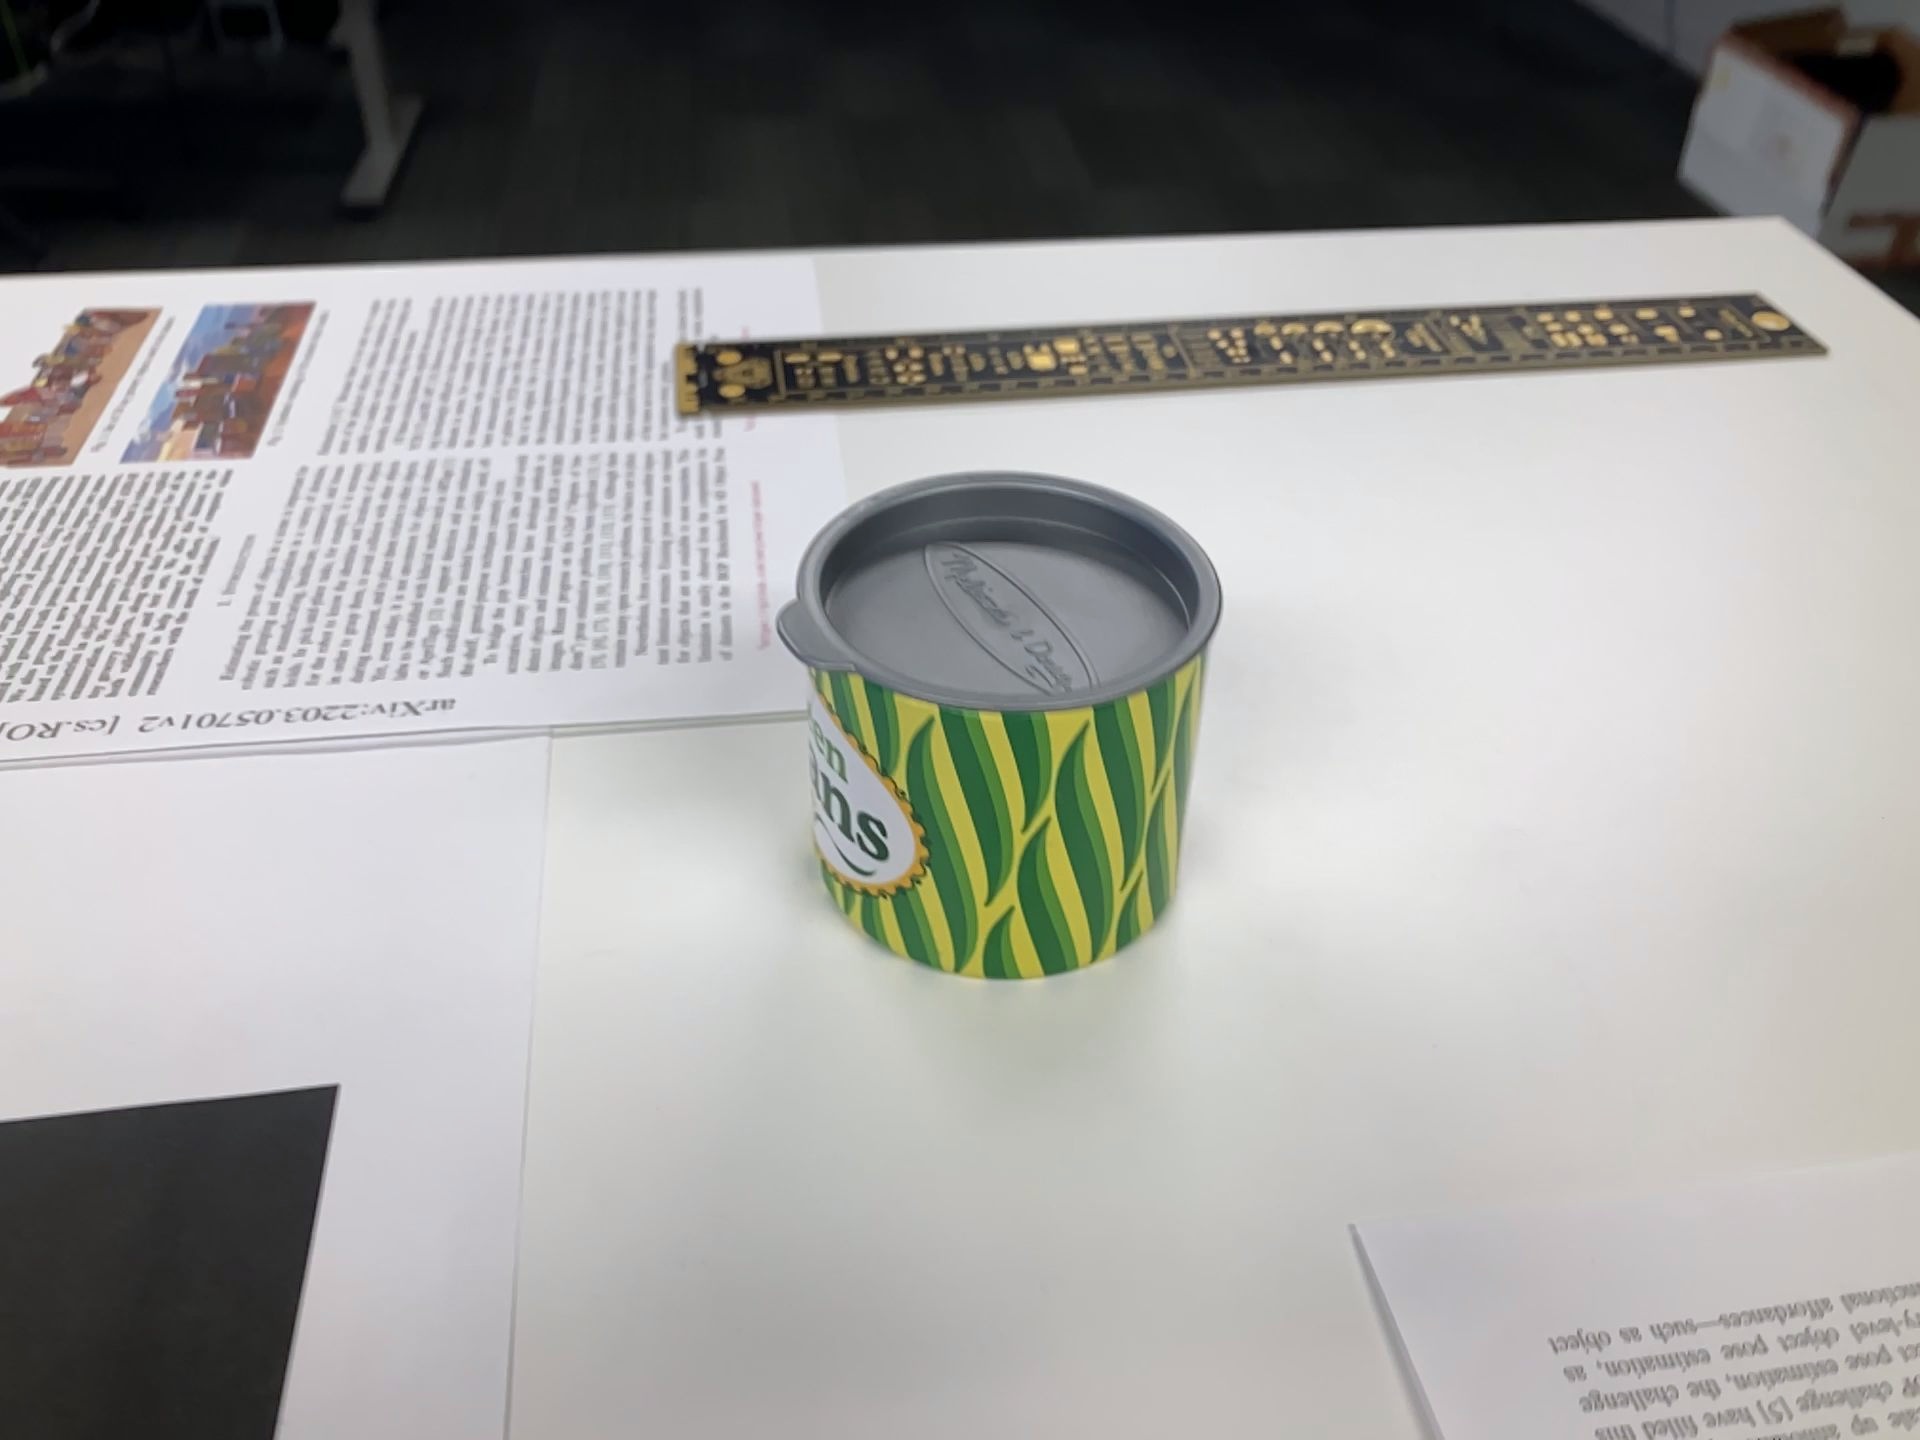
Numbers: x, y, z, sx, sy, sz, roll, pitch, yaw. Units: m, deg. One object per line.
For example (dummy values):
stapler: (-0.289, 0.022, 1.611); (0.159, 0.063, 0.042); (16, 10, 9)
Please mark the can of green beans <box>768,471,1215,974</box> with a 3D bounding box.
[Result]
can of green beans: (0.006, 0.000, 0.268); (0.071, 0.058, 0.071); (1, 38, -1)
